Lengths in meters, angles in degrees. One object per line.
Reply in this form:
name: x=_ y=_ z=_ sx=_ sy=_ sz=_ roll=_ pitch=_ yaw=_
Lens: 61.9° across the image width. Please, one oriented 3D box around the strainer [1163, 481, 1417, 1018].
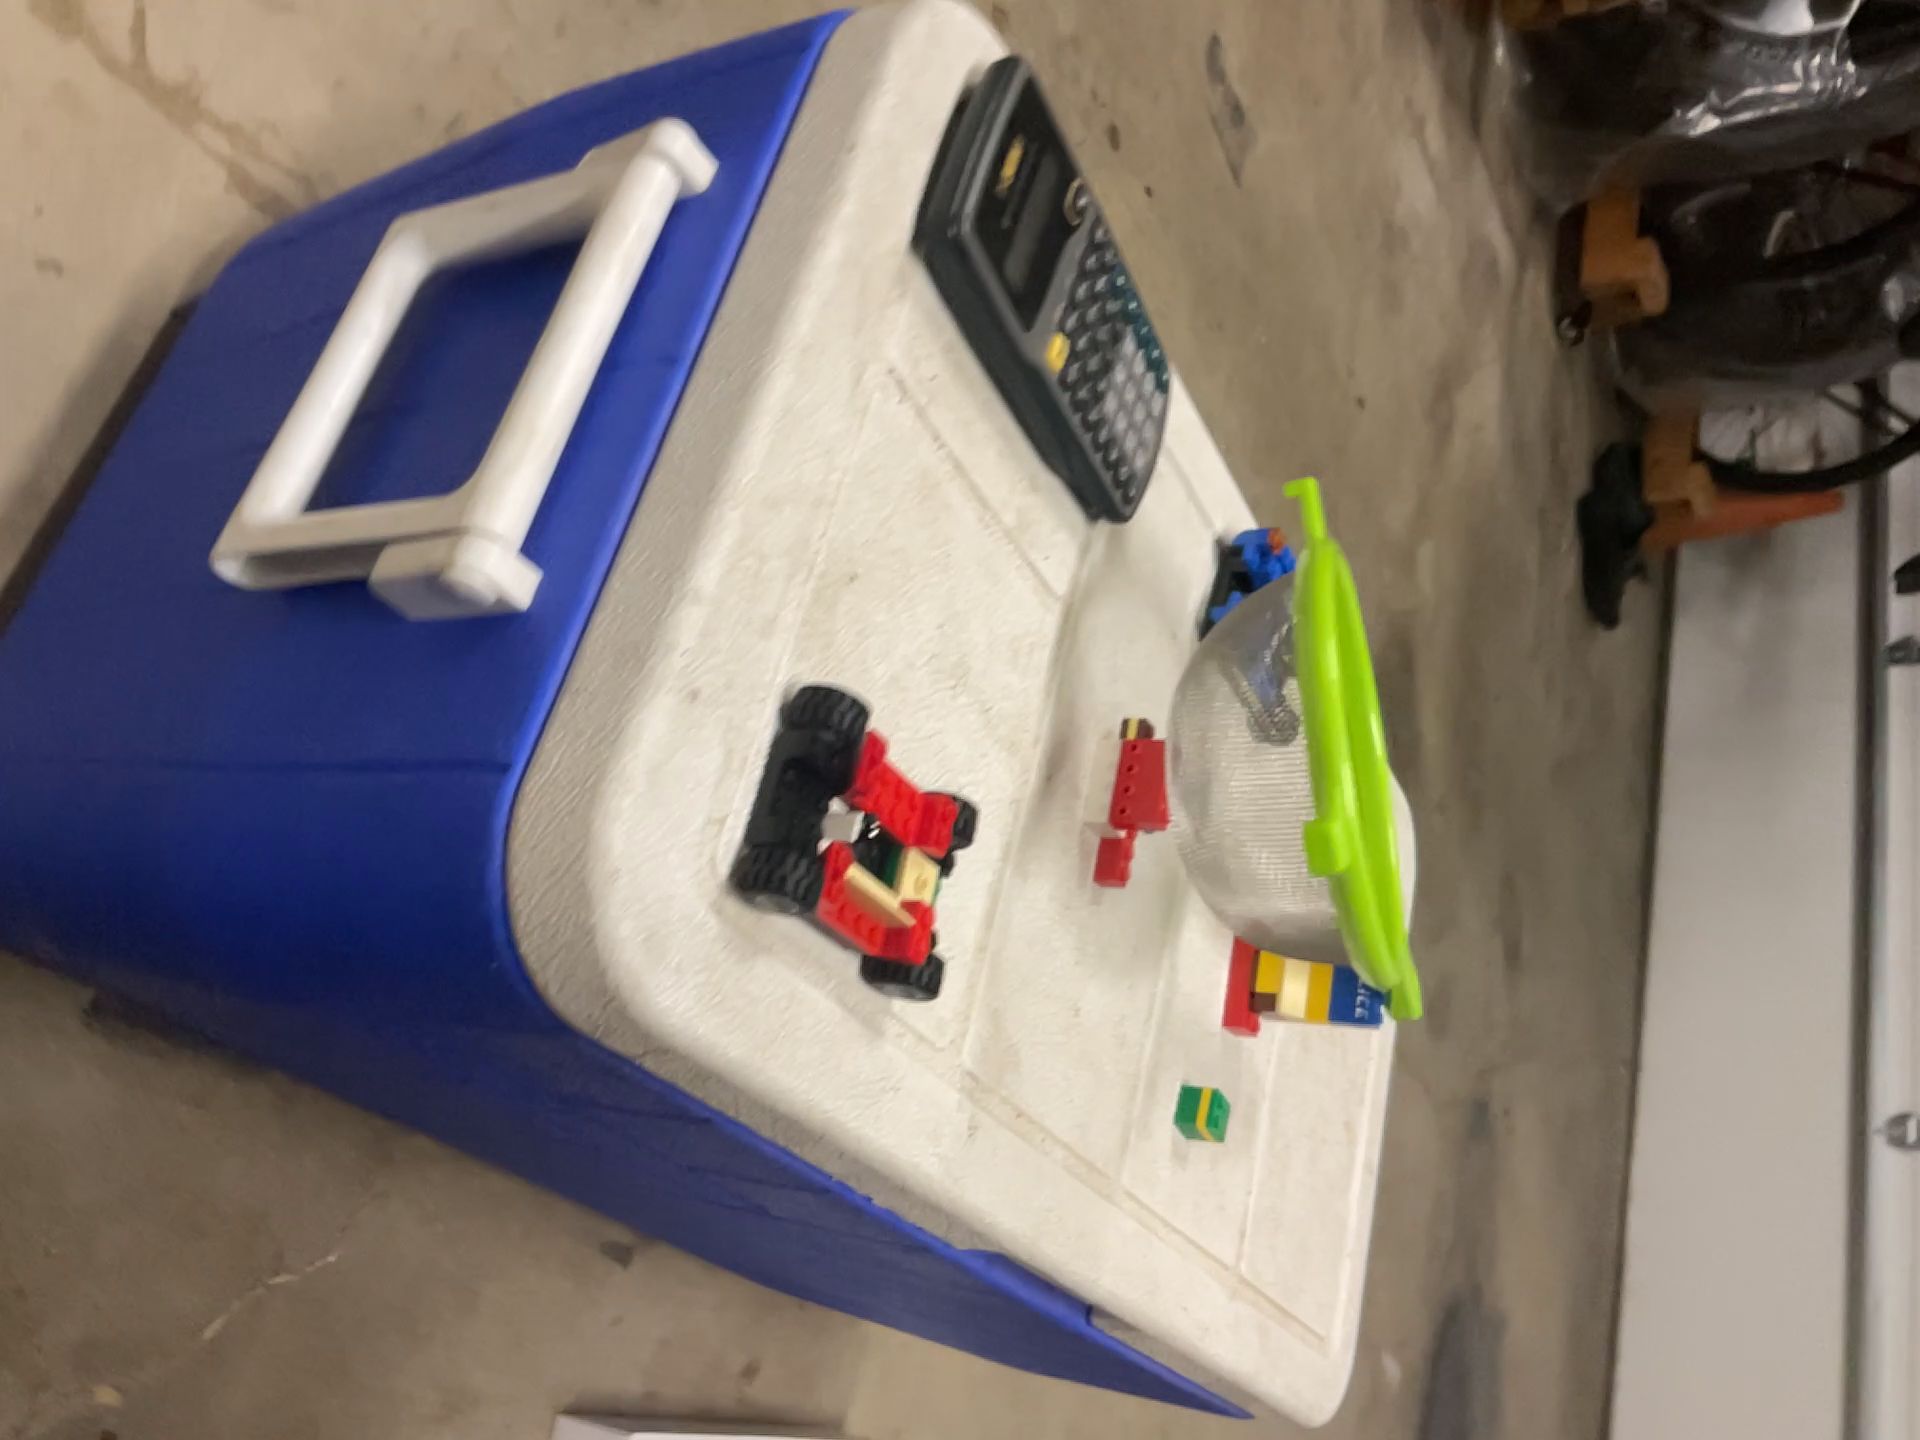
strainer: x=0.123 y=0.048 z=0.585 sx=0.256 sy=0.069 sz=0.152 roll=62 pitch=26 yaw=-49
